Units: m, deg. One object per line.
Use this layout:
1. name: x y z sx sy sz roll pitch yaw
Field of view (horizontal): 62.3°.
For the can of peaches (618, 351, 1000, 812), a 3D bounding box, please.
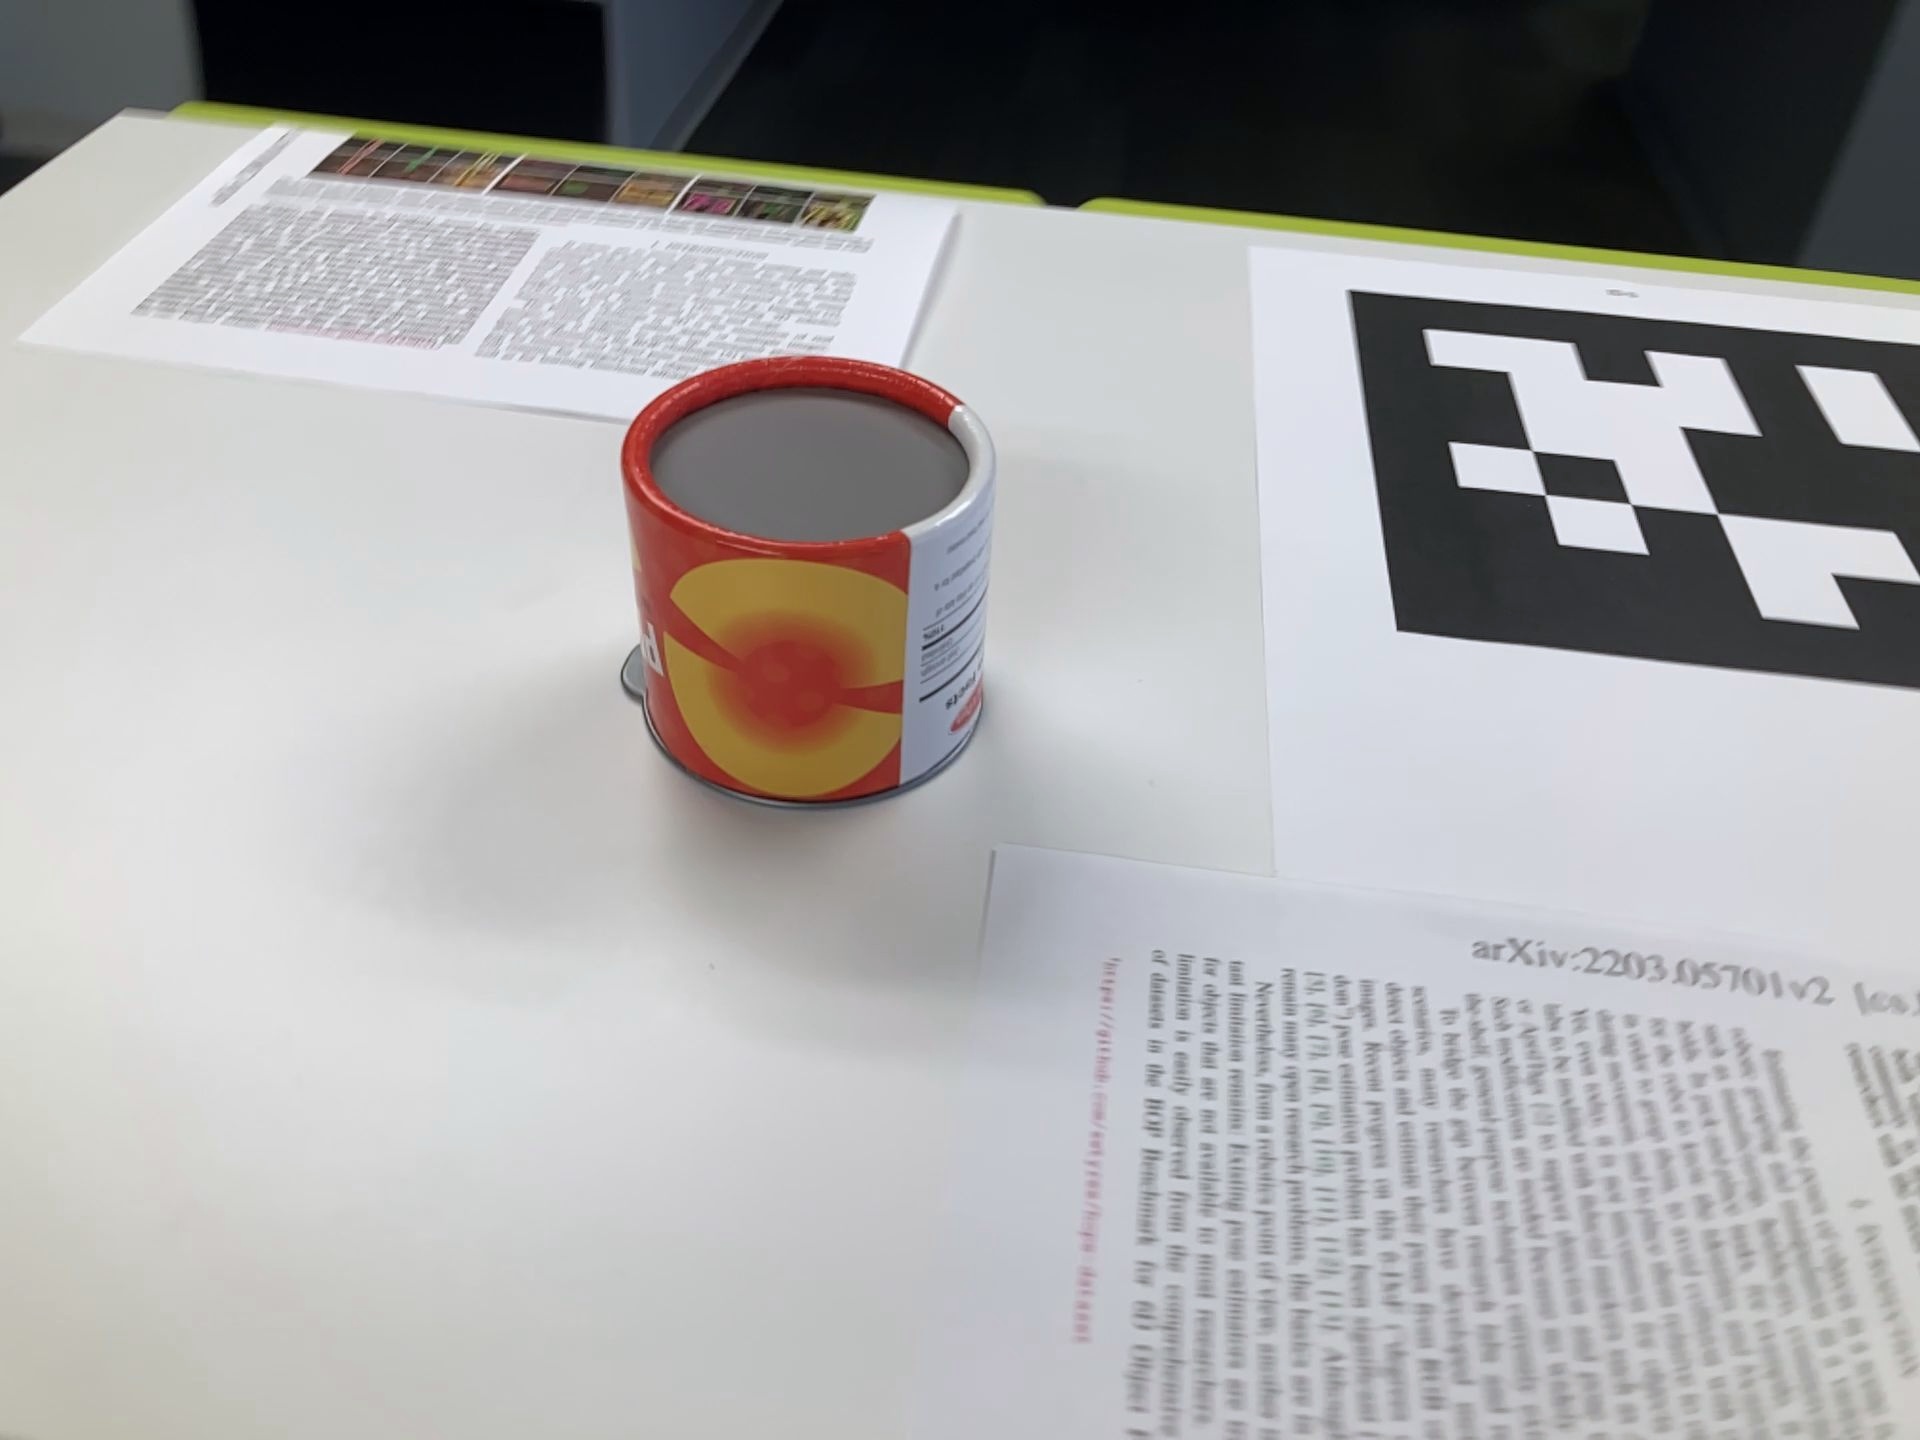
1. can of peaches: -0.029 -0.027 0.289 0.071 0.058 0.071 3 42 -2
